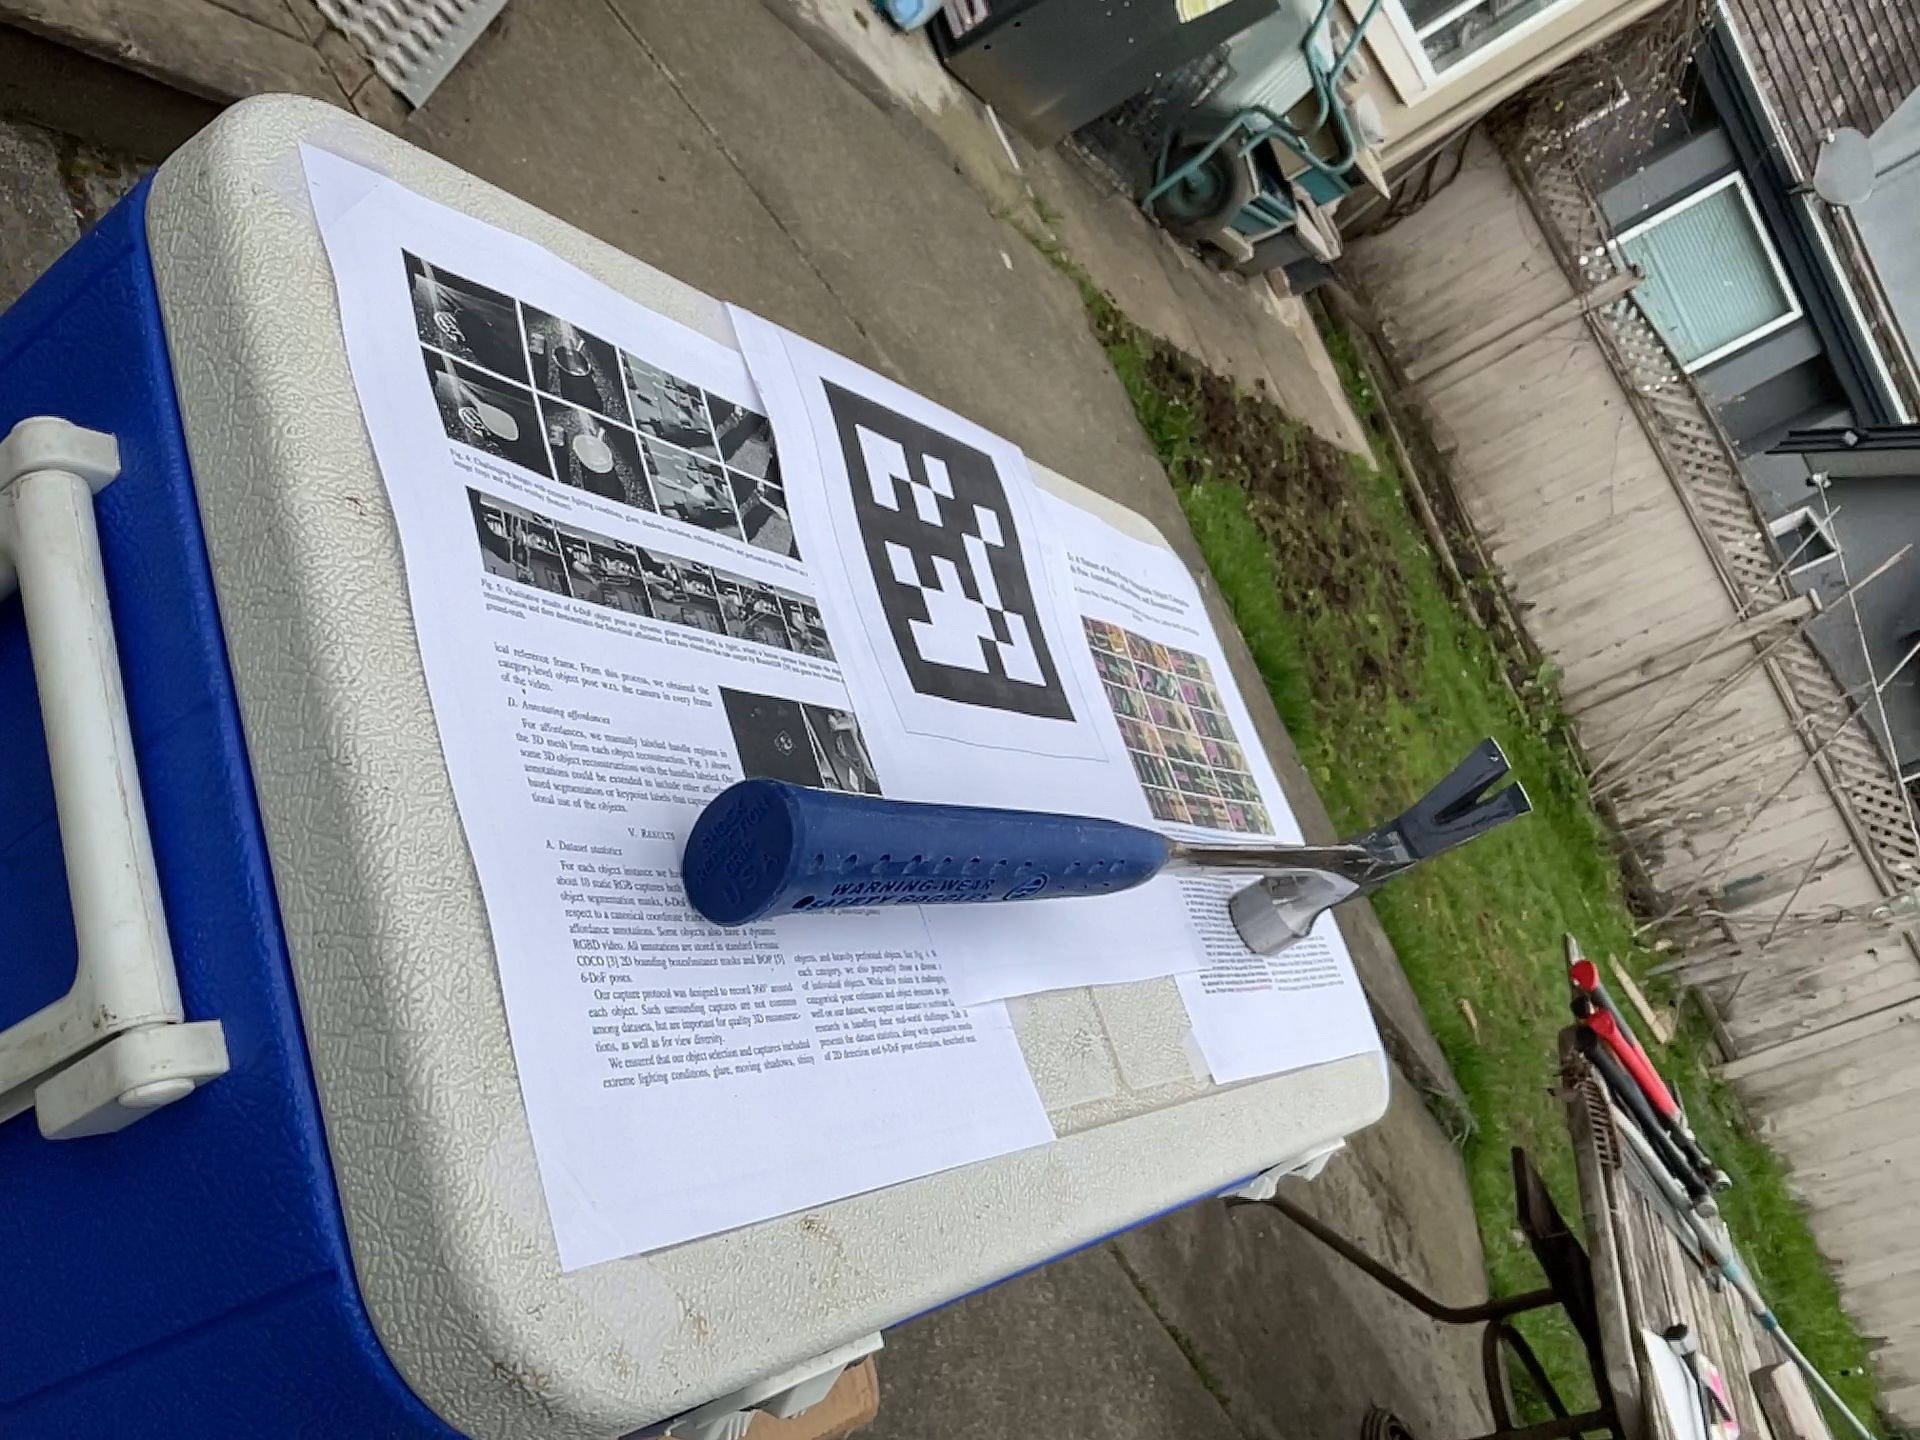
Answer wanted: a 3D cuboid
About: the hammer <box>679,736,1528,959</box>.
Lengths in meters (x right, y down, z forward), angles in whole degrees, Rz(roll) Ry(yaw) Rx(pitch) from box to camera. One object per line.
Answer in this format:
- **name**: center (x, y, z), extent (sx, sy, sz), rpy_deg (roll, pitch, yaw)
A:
- **hammer**: center (0.071, 0.045, 0.552), extent (0.405, 0.144, 0.035), rpy_deg (7, 53, -53)
